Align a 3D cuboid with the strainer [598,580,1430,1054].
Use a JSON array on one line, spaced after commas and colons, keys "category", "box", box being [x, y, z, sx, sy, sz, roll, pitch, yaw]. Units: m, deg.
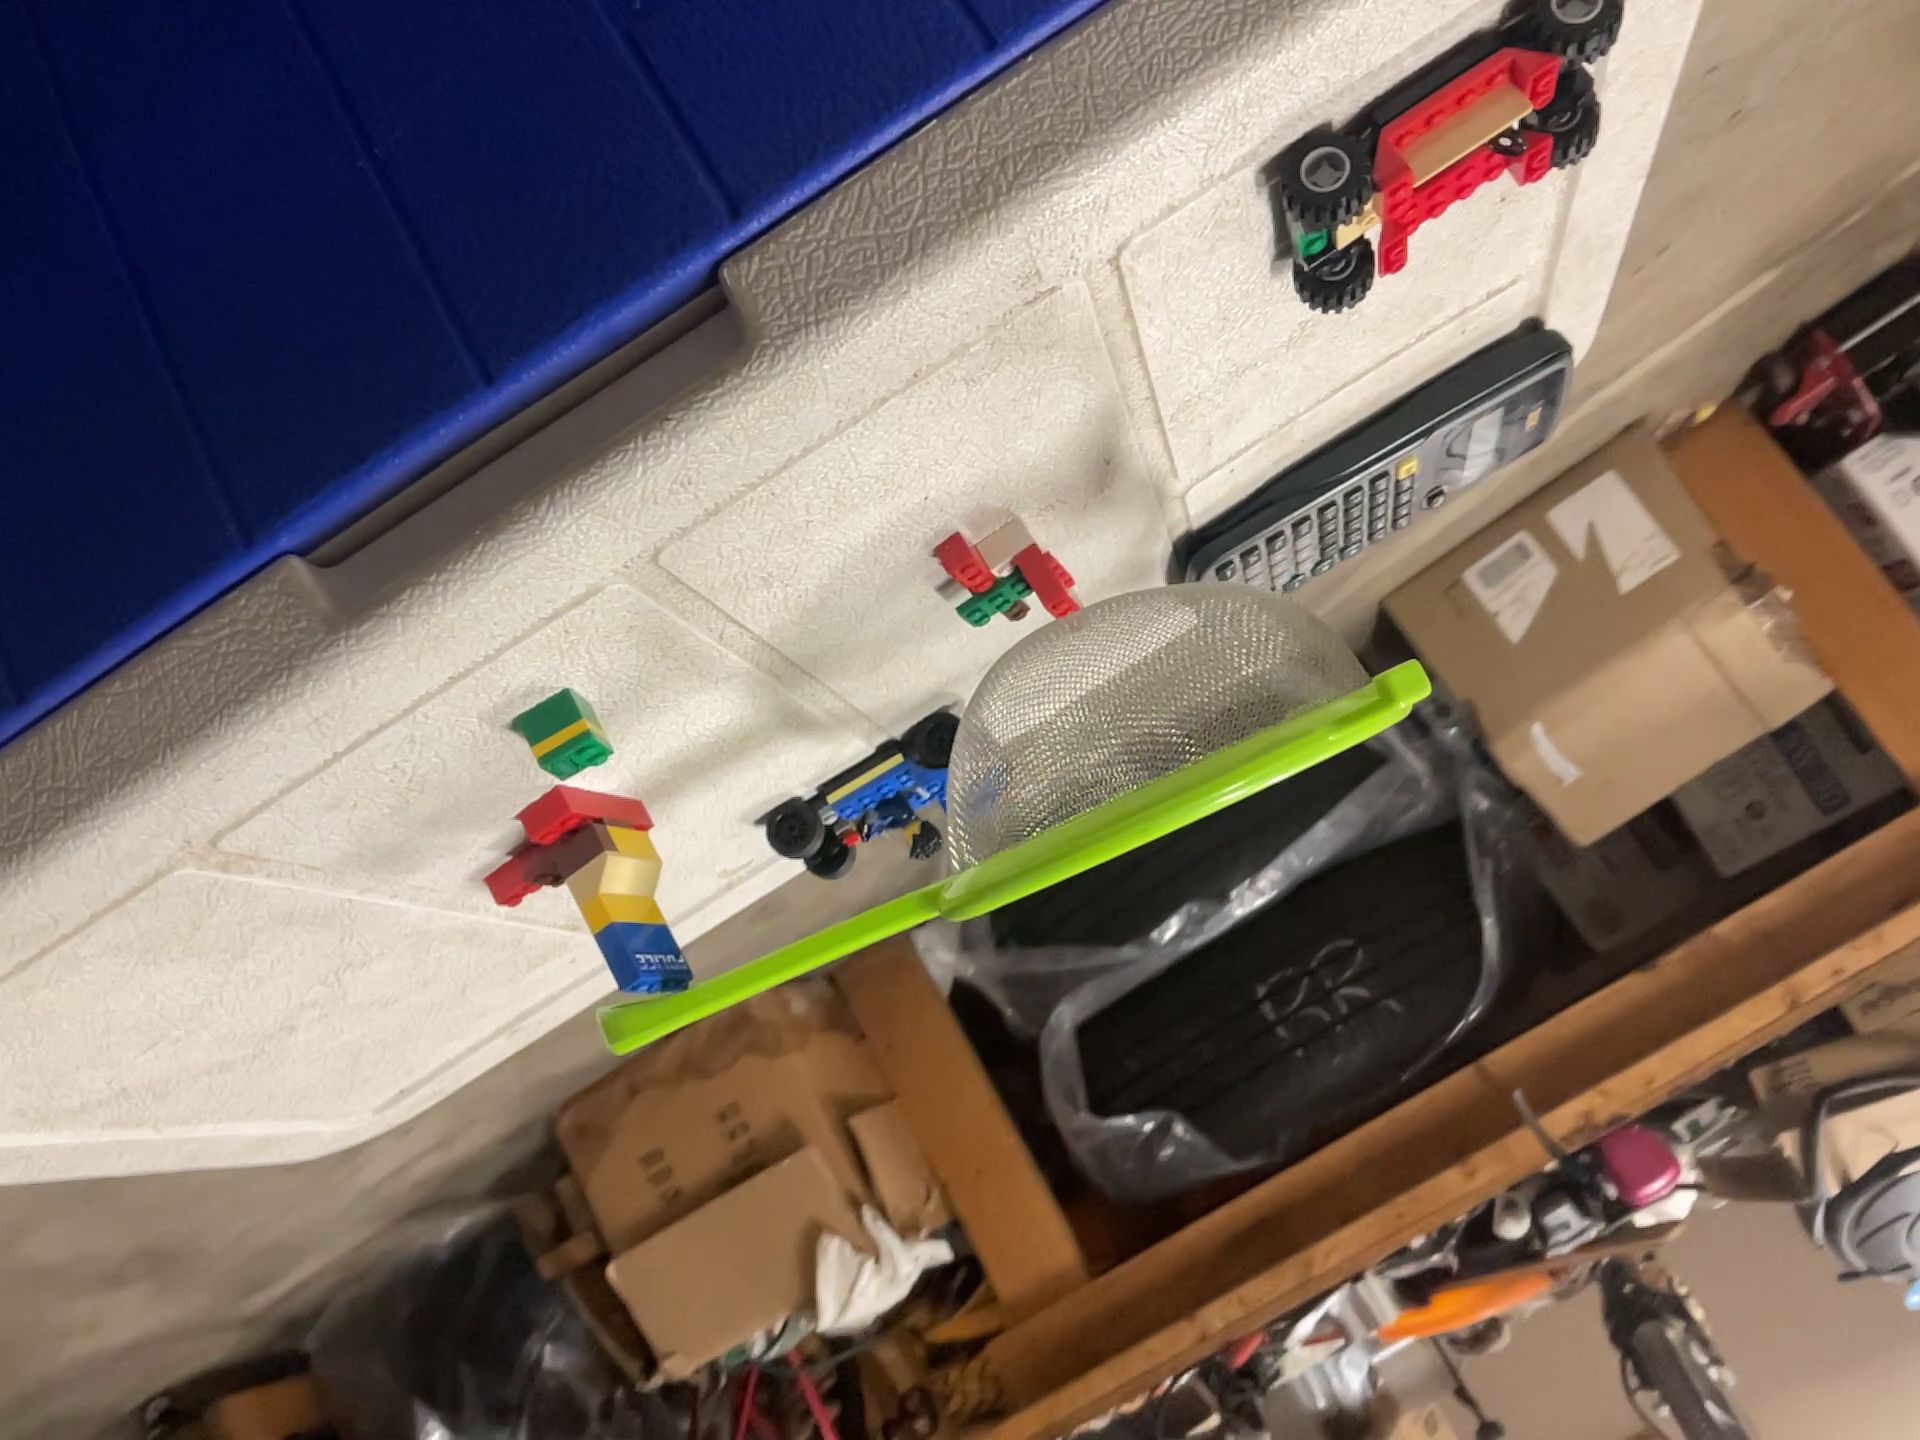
[{"category": "strainer", "box": [0.002, 0.021, 0.477, 0.256, 0.069, 0.151, -24, 176, 2]}]
